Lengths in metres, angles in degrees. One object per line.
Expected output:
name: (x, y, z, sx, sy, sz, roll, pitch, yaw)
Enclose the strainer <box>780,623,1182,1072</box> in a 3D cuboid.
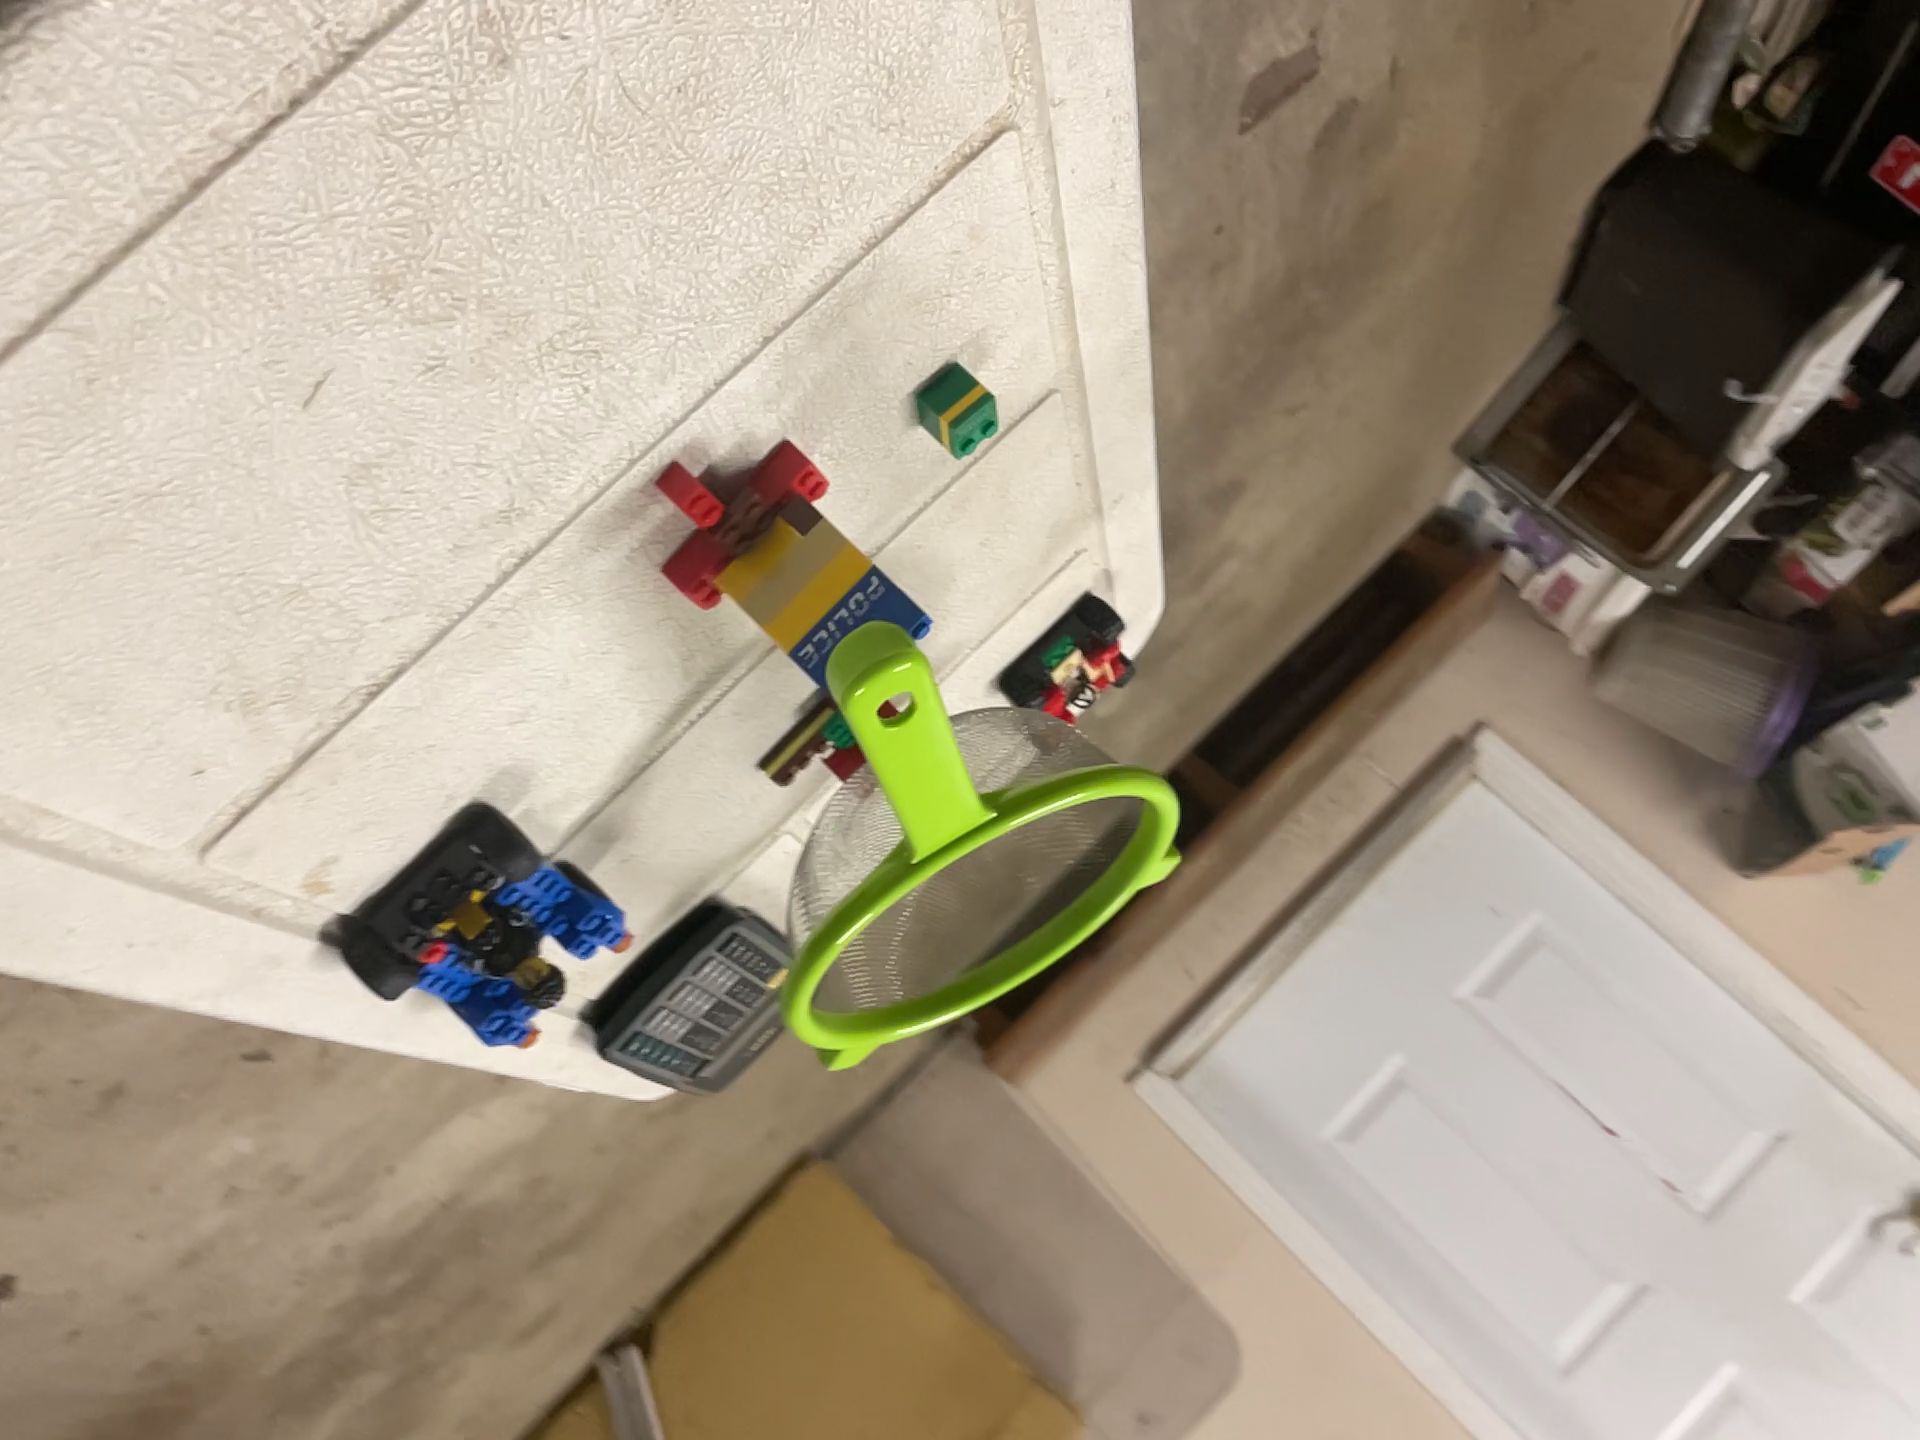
strainer: (-0.013, 0.022, 0.502, 0.151, 0.069, 0.256, -30, 153, -5)
